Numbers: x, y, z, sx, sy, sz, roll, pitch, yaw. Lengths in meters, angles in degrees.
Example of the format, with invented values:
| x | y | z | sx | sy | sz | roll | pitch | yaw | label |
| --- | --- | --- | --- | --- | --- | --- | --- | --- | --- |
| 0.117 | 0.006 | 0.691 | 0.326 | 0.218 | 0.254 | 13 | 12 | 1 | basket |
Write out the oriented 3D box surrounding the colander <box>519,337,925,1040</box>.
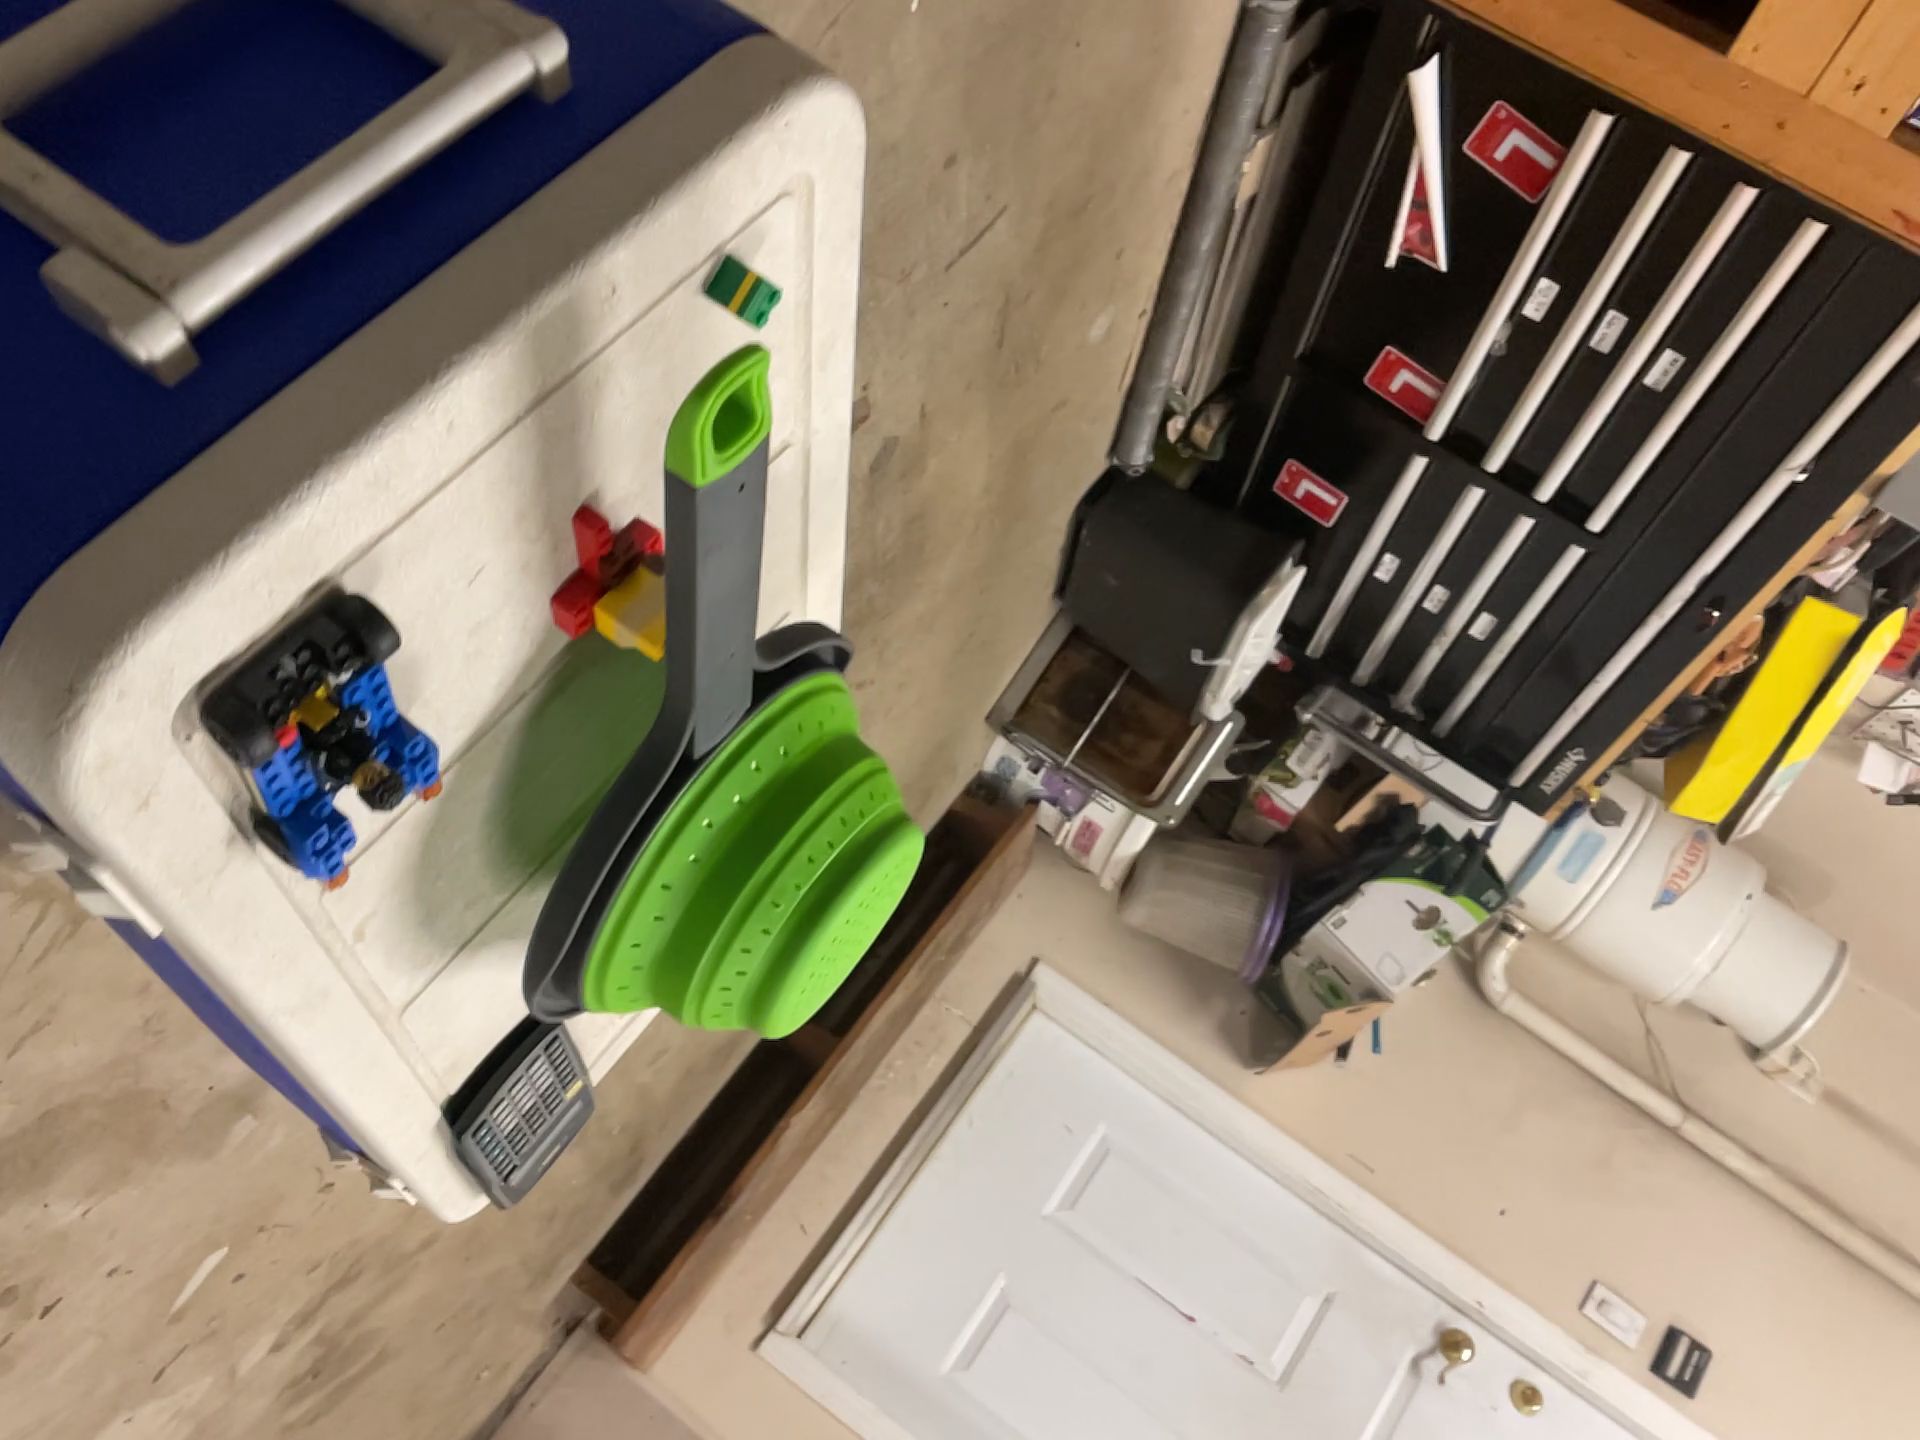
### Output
| x | y | z | sx | sy | sz | roll | pitch | yaw | label |
| --- | --- | --- | --- | --- | --- | --- | --- | --- | --- |
| -0.069 | 0.022 | 0.603 | 0.205 | 0.094 | 0.396 | -49 | 167 | -31 | colander |
